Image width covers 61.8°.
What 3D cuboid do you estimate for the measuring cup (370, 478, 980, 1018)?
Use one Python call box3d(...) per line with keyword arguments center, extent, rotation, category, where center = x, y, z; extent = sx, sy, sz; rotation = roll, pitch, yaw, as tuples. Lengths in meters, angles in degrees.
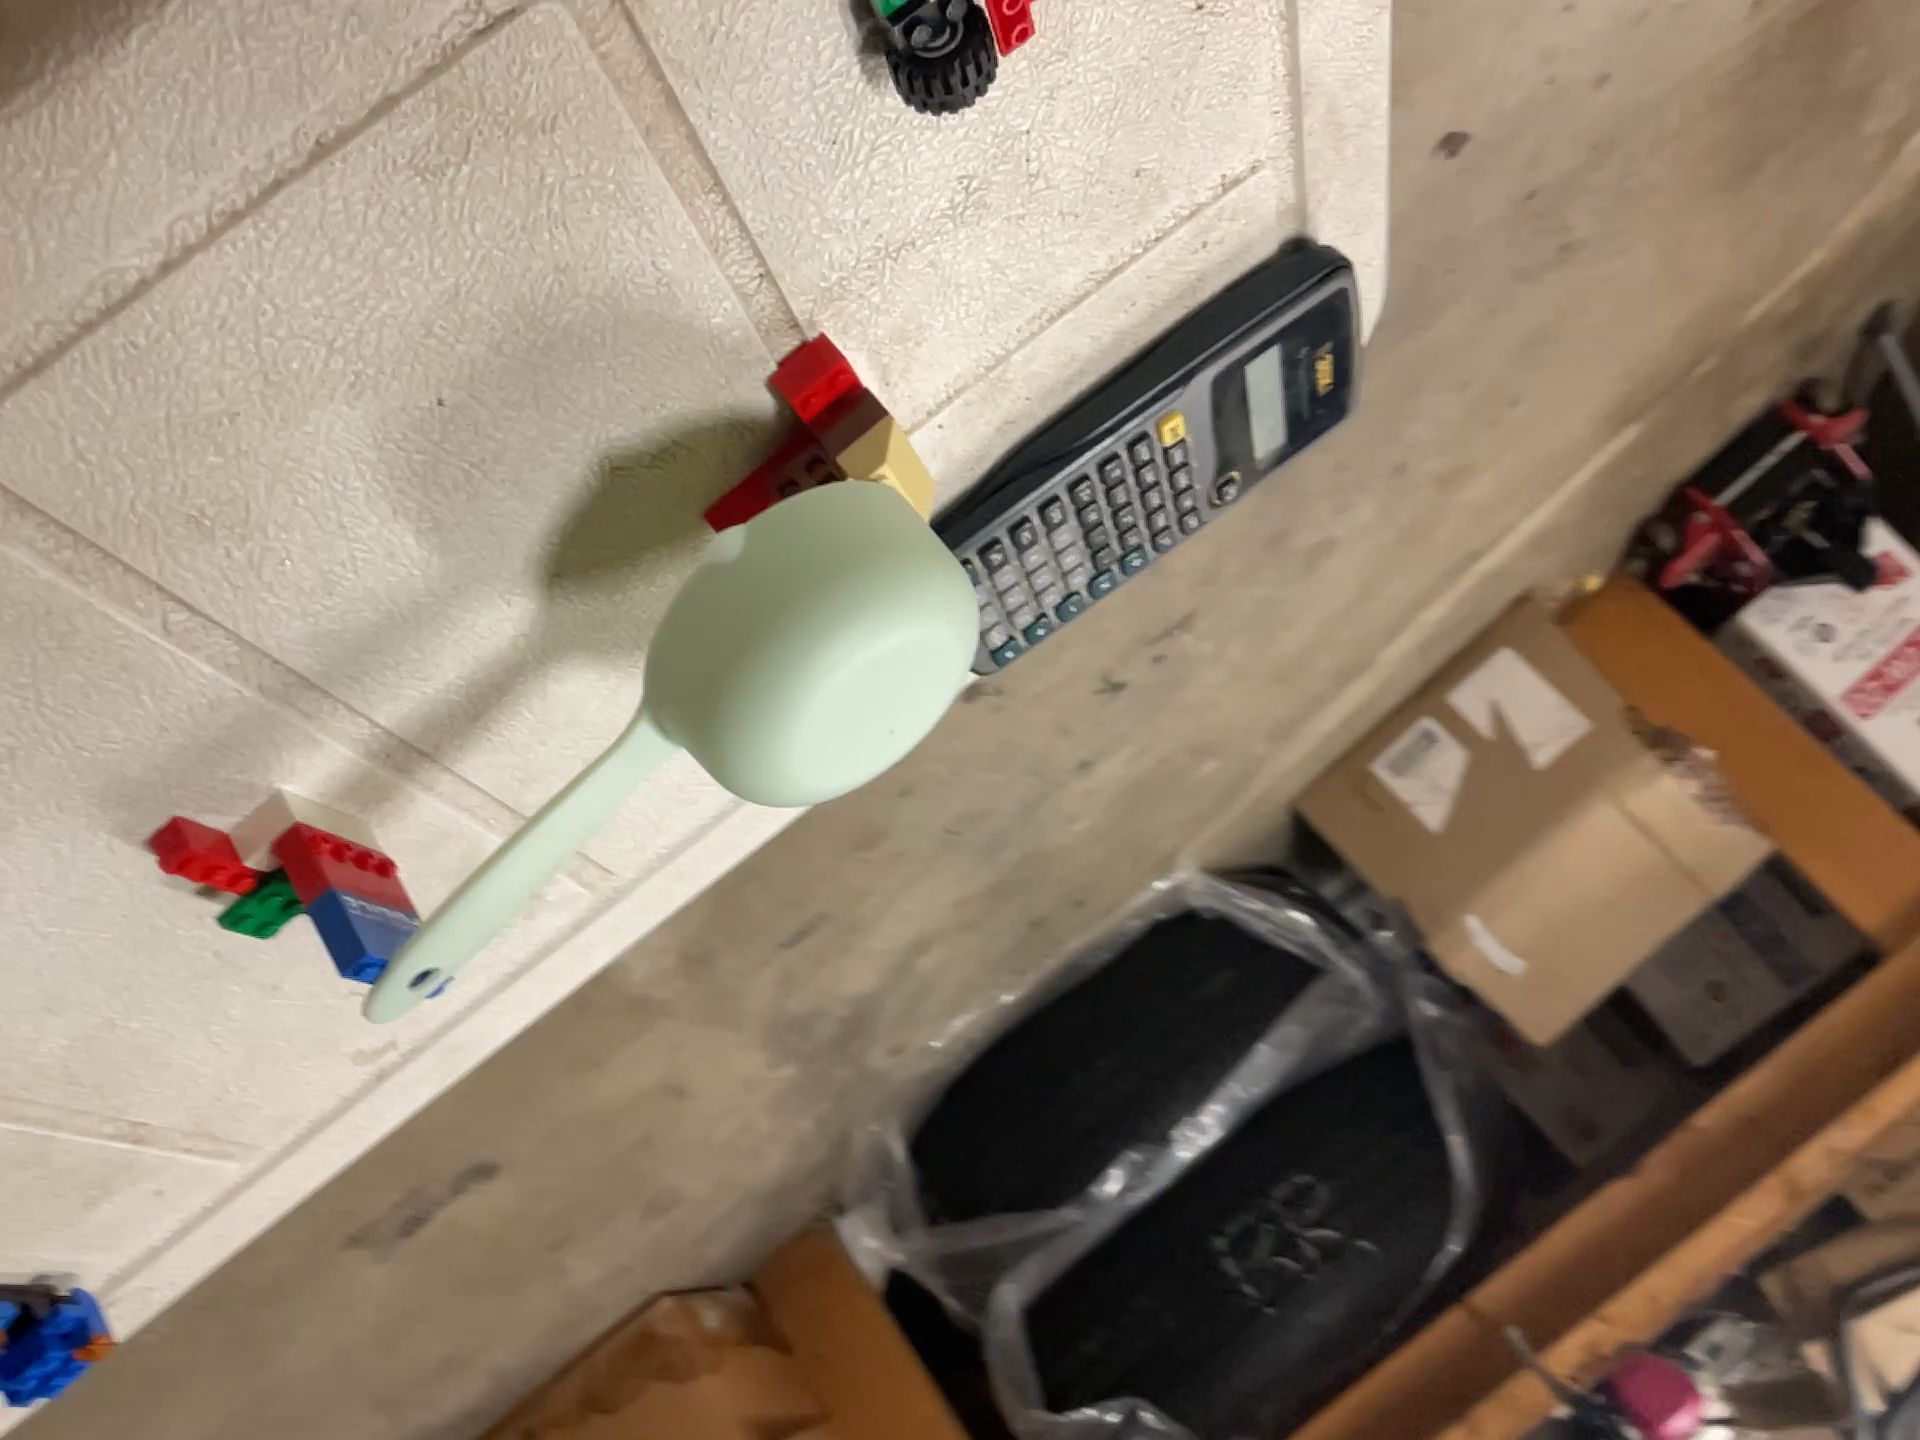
box3d(center=(-0.062, 0.018, 0.361), extent=(0.167, 0.038, 0.083), rotation=(-44, 156, -3), category="measuring cup")
